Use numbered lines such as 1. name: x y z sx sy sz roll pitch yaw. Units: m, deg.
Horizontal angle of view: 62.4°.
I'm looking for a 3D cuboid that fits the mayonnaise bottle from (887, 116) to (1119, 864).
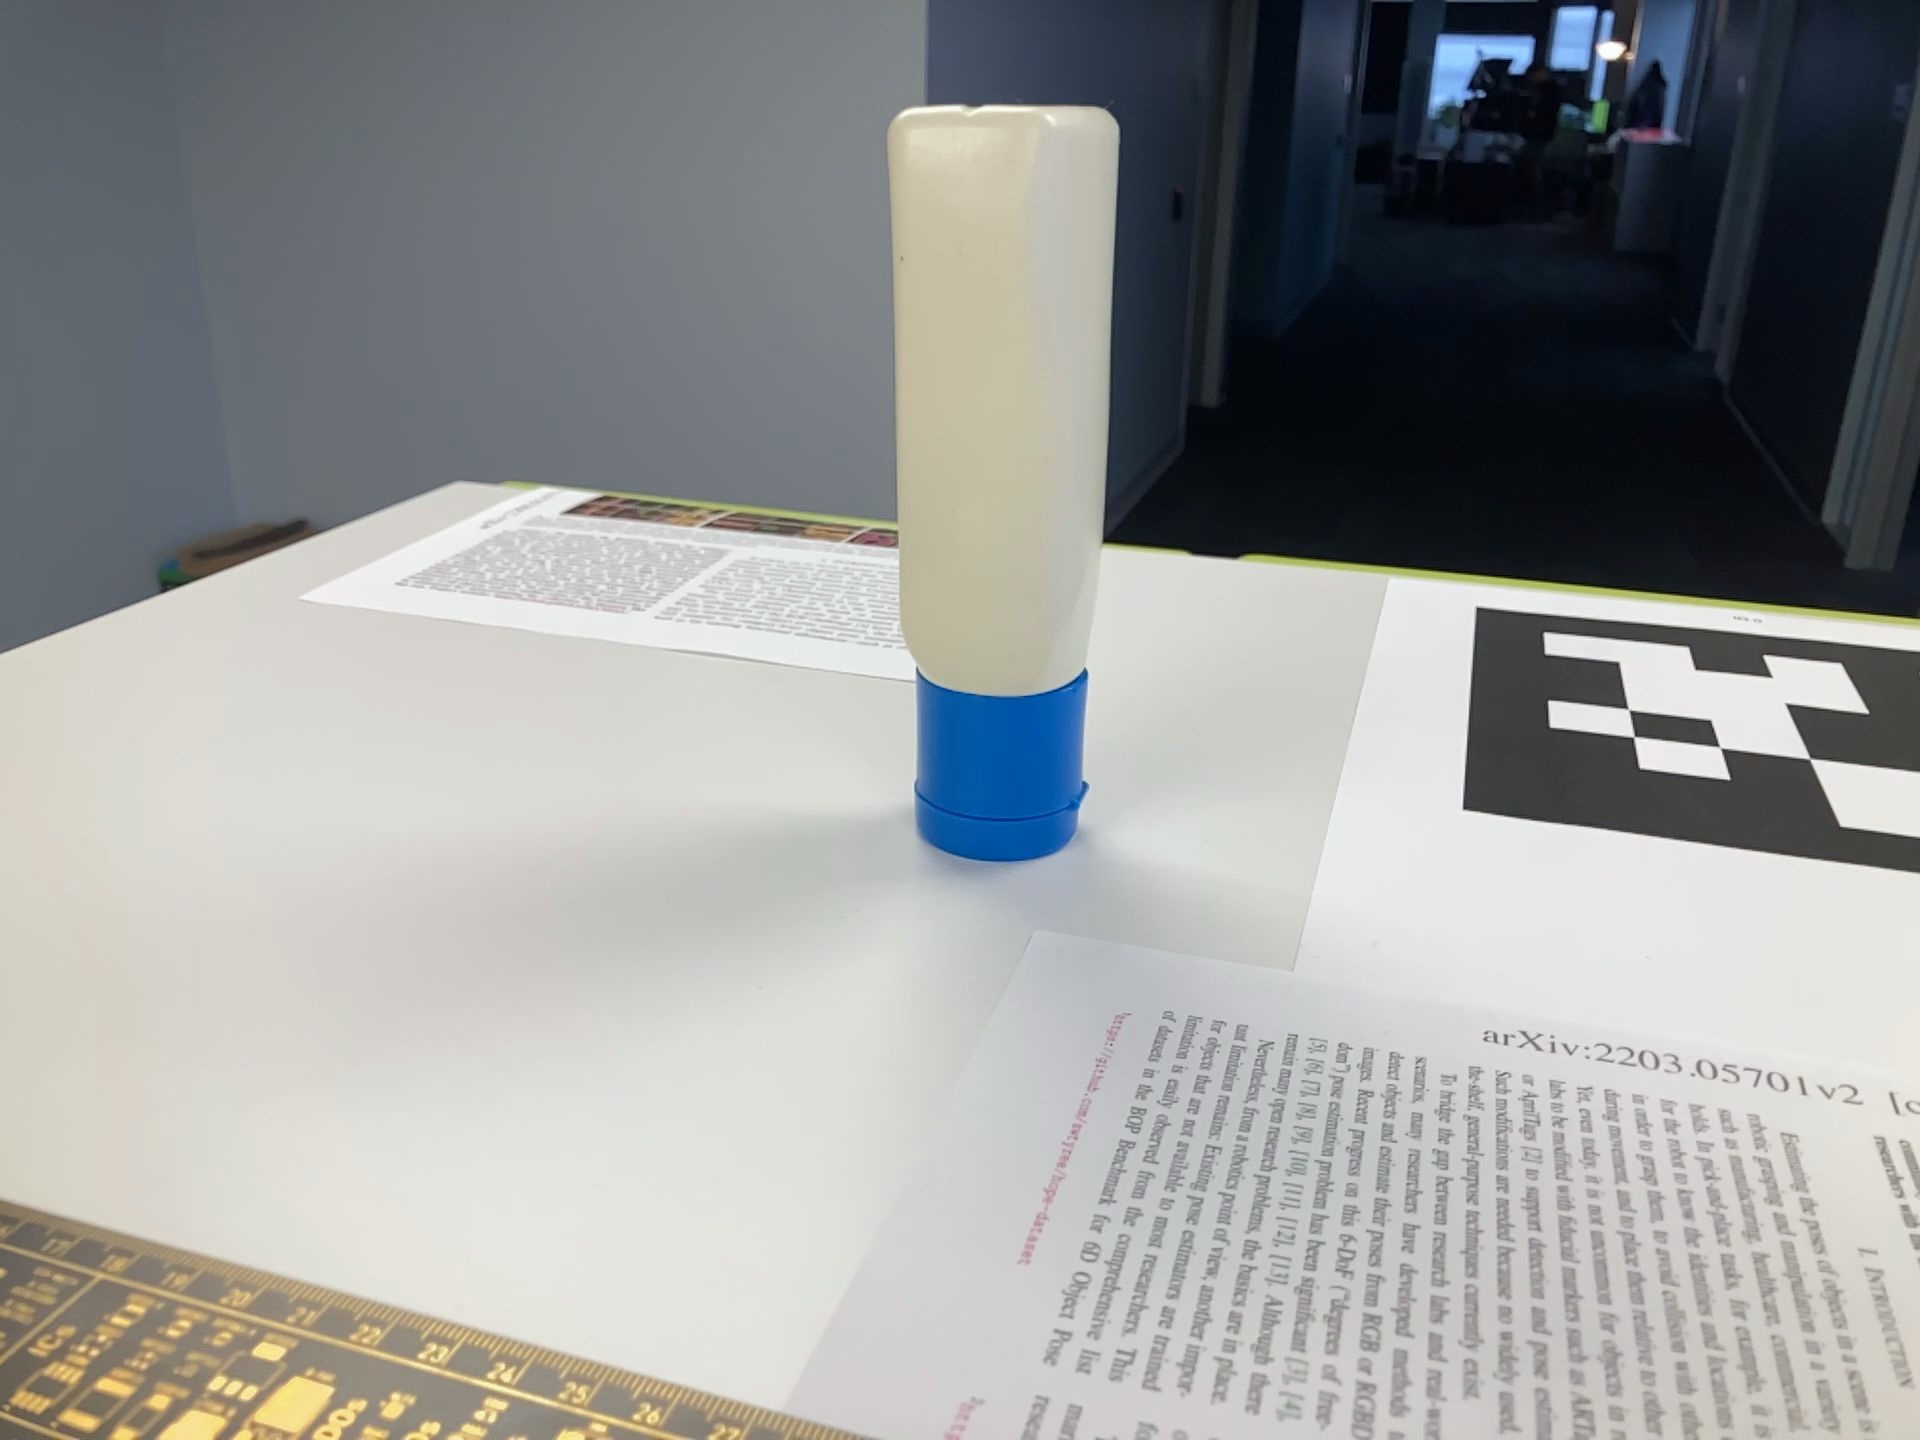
1. mayonnaise bottle: 0.008 -0.044 0.325 0.041 0.148 0.065 7 21 15
